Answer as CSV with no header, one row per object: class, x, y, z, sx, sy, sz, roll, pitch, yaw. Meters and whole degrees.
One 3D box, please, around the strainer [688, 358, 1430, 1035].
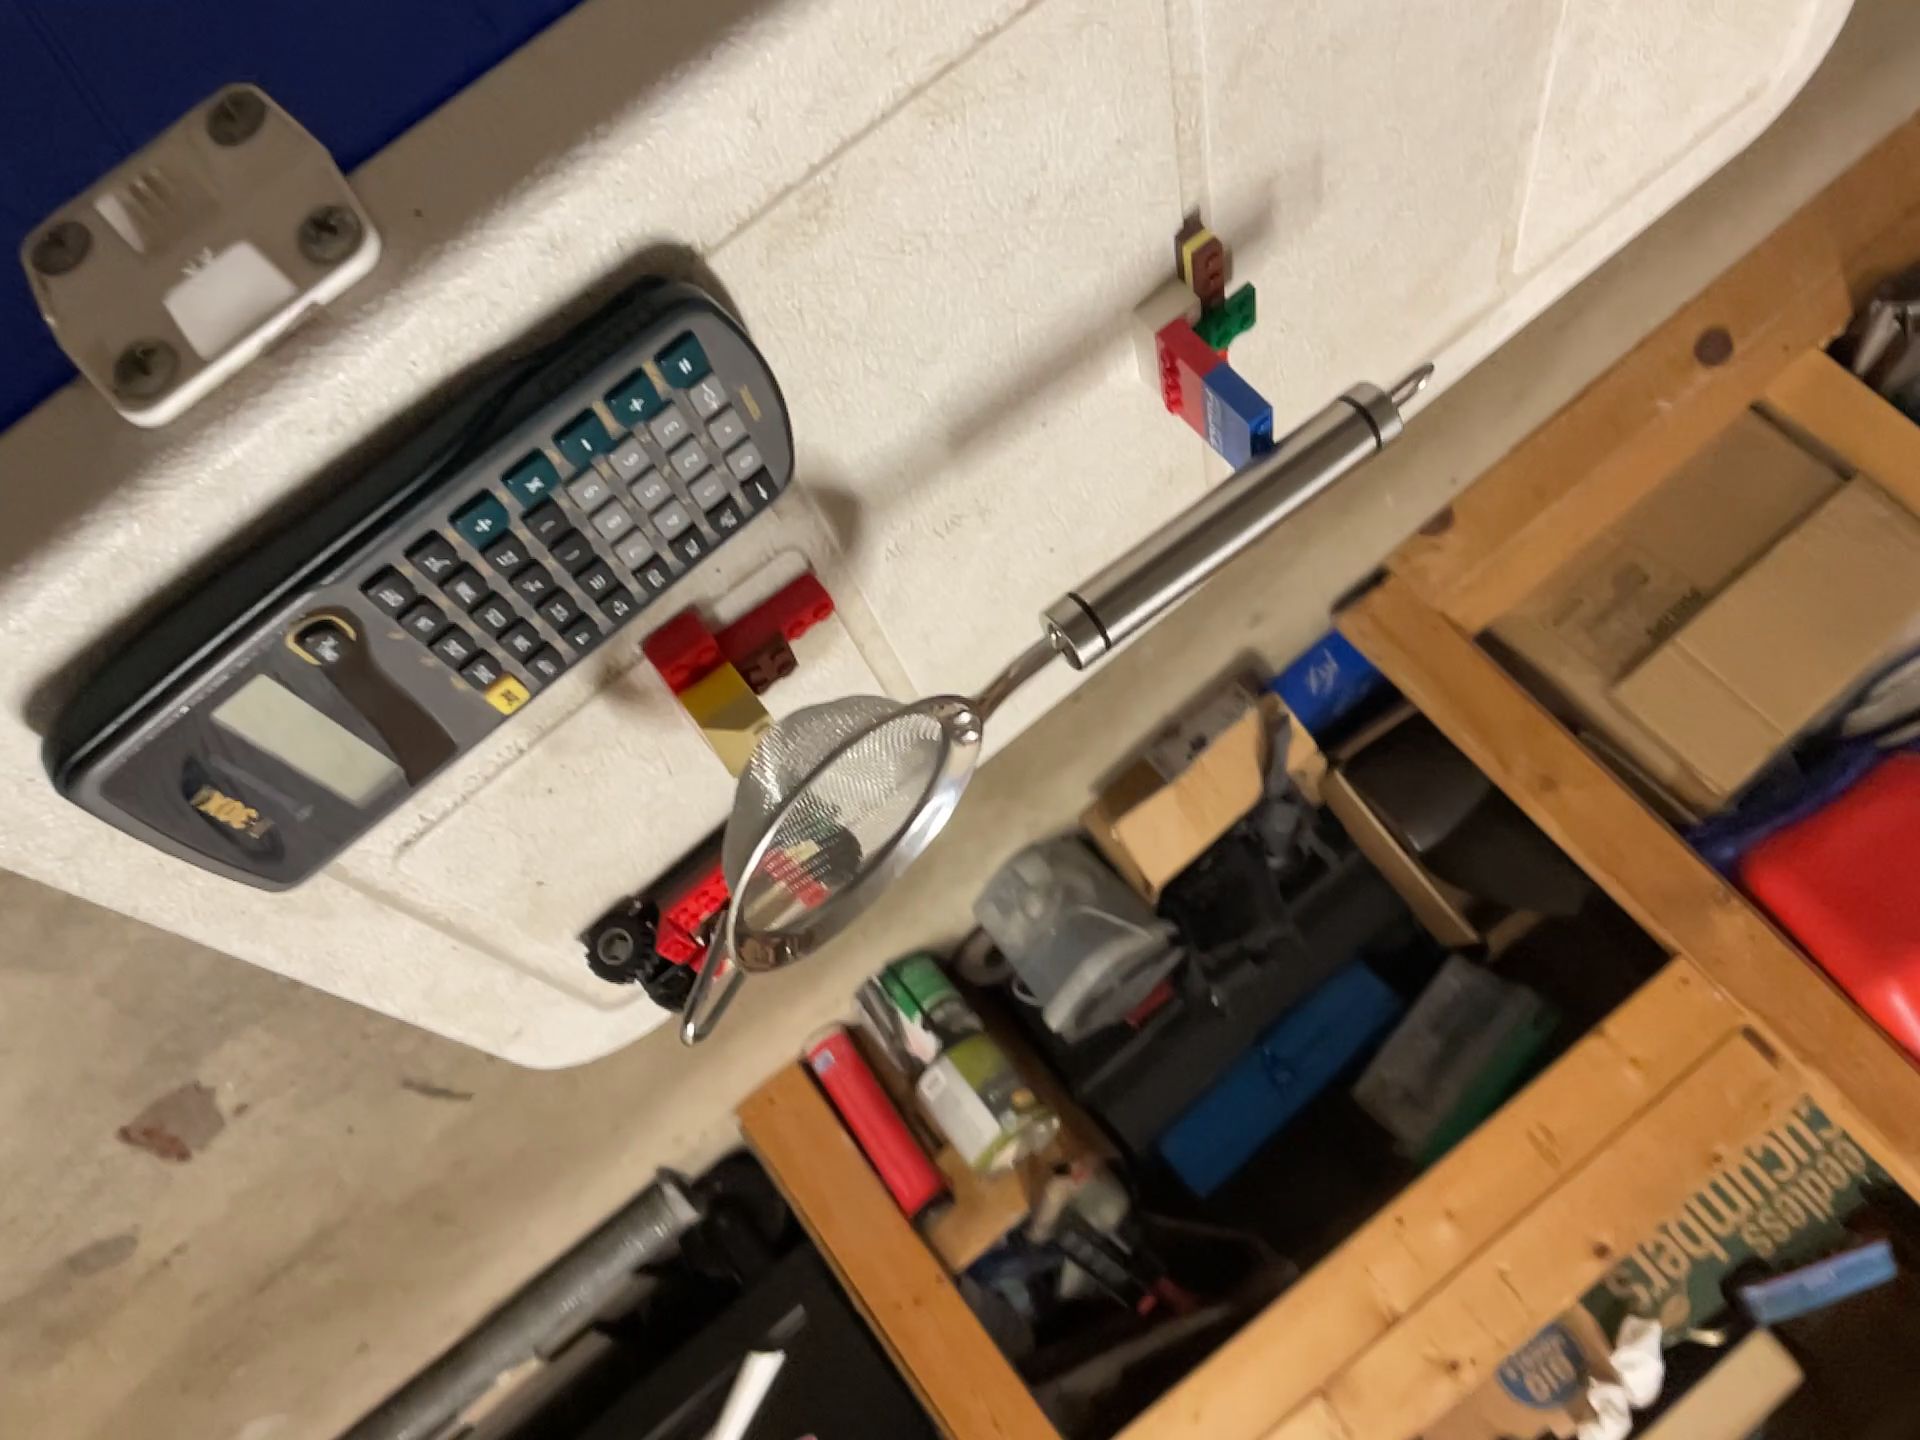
strainer,0.024,-0.019,0.411,0.258,0.050,0.086,-37,158,-10
